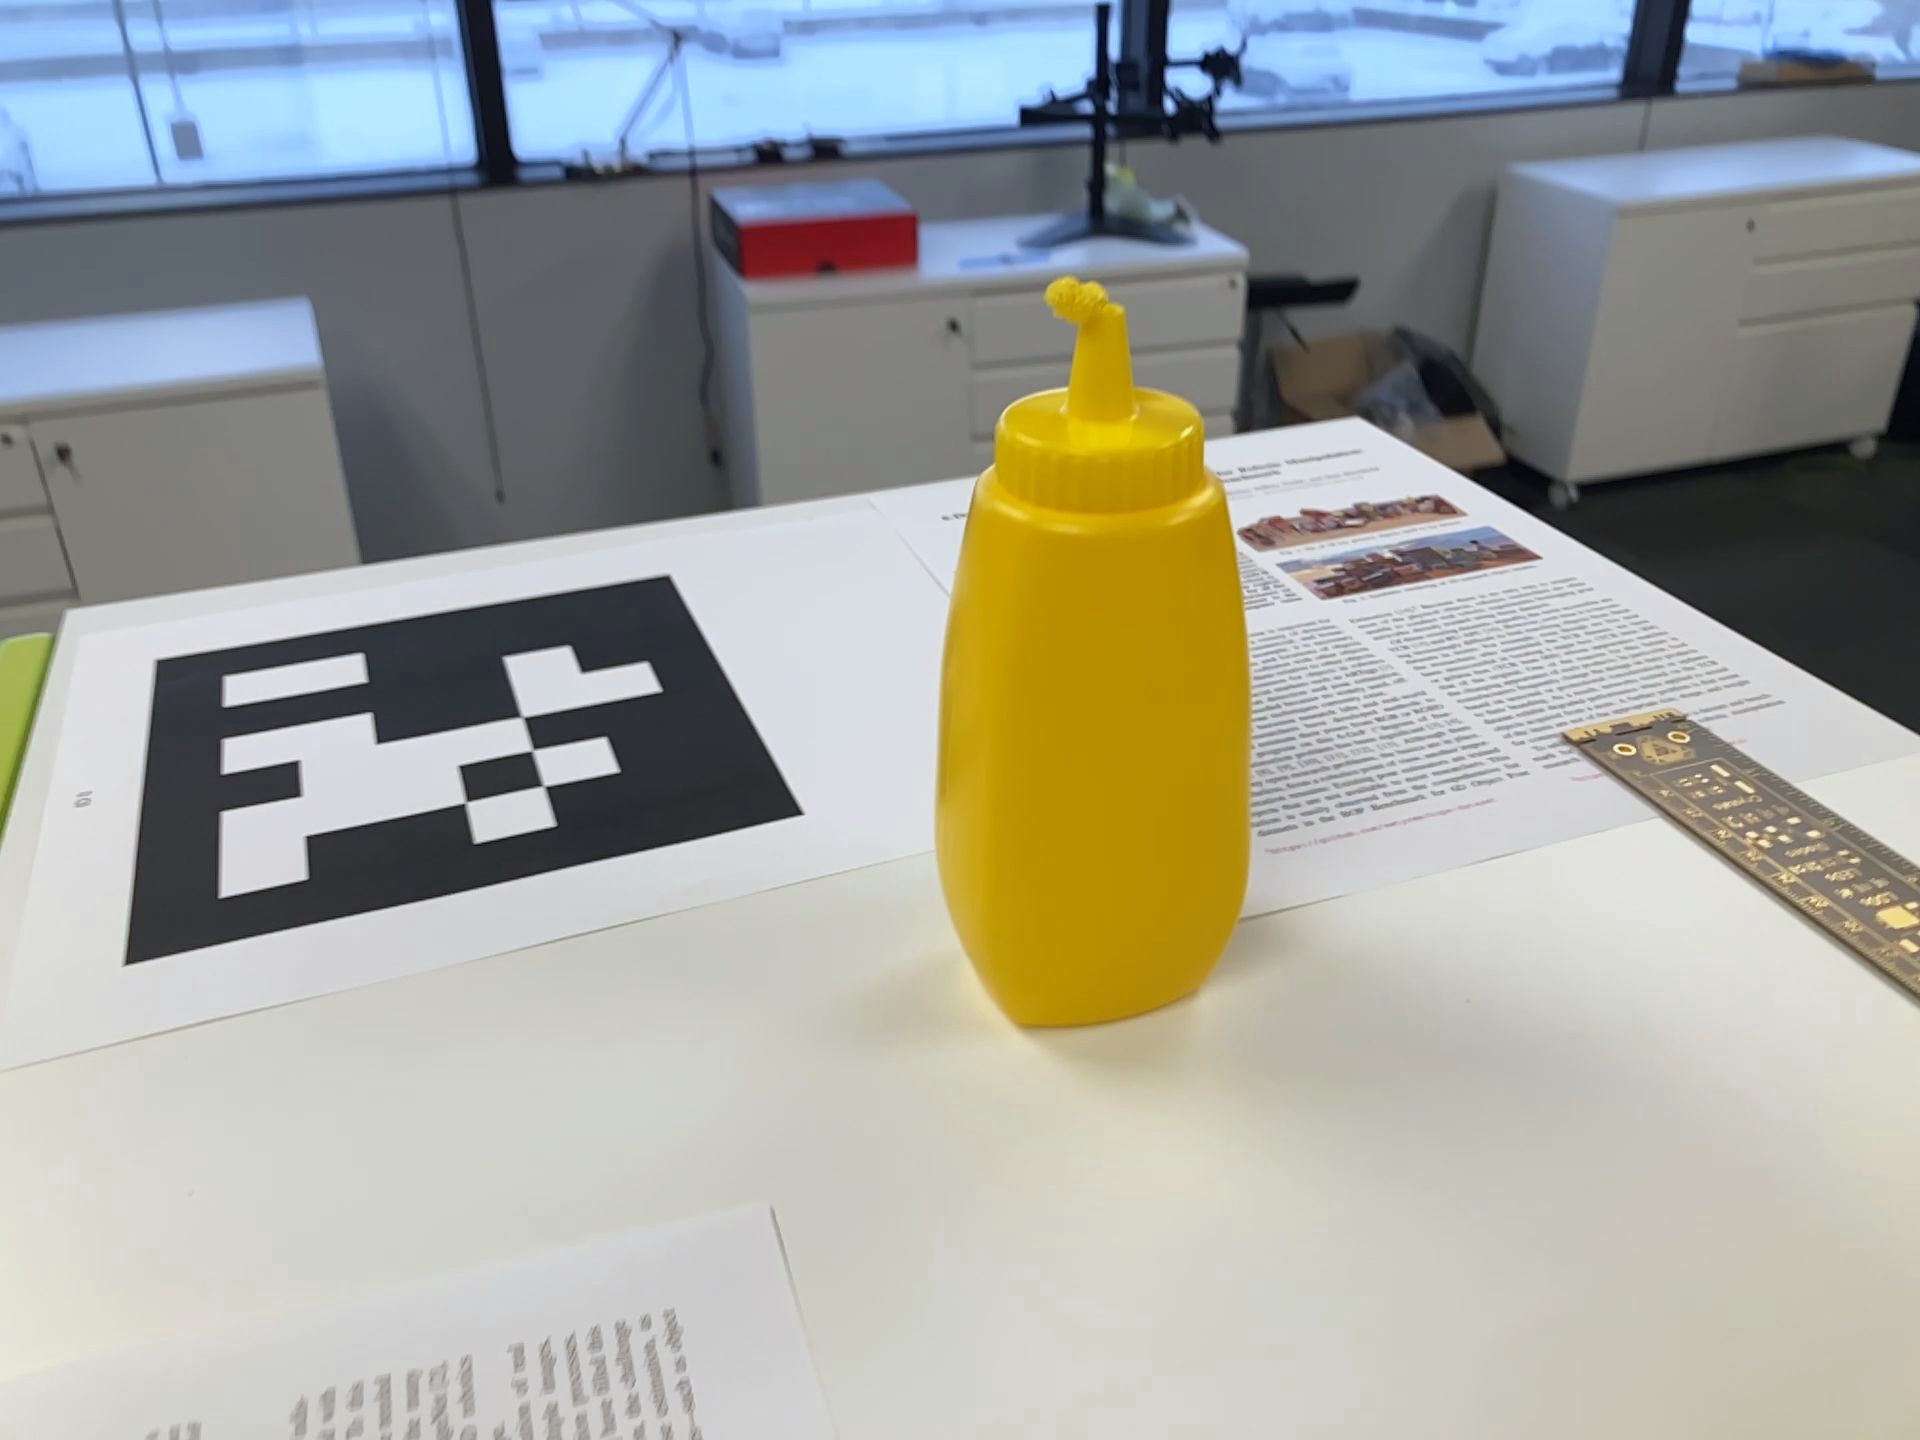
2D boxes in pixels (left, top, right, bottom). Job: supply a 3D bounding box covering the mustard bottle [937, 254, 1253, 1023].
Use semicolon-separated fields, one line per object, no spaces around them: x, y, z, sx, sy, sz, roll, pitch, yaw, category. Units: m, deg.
0.028;-0.014;0.323;0.065;0.160;0.049;-8;29;-15;mustard bottle
